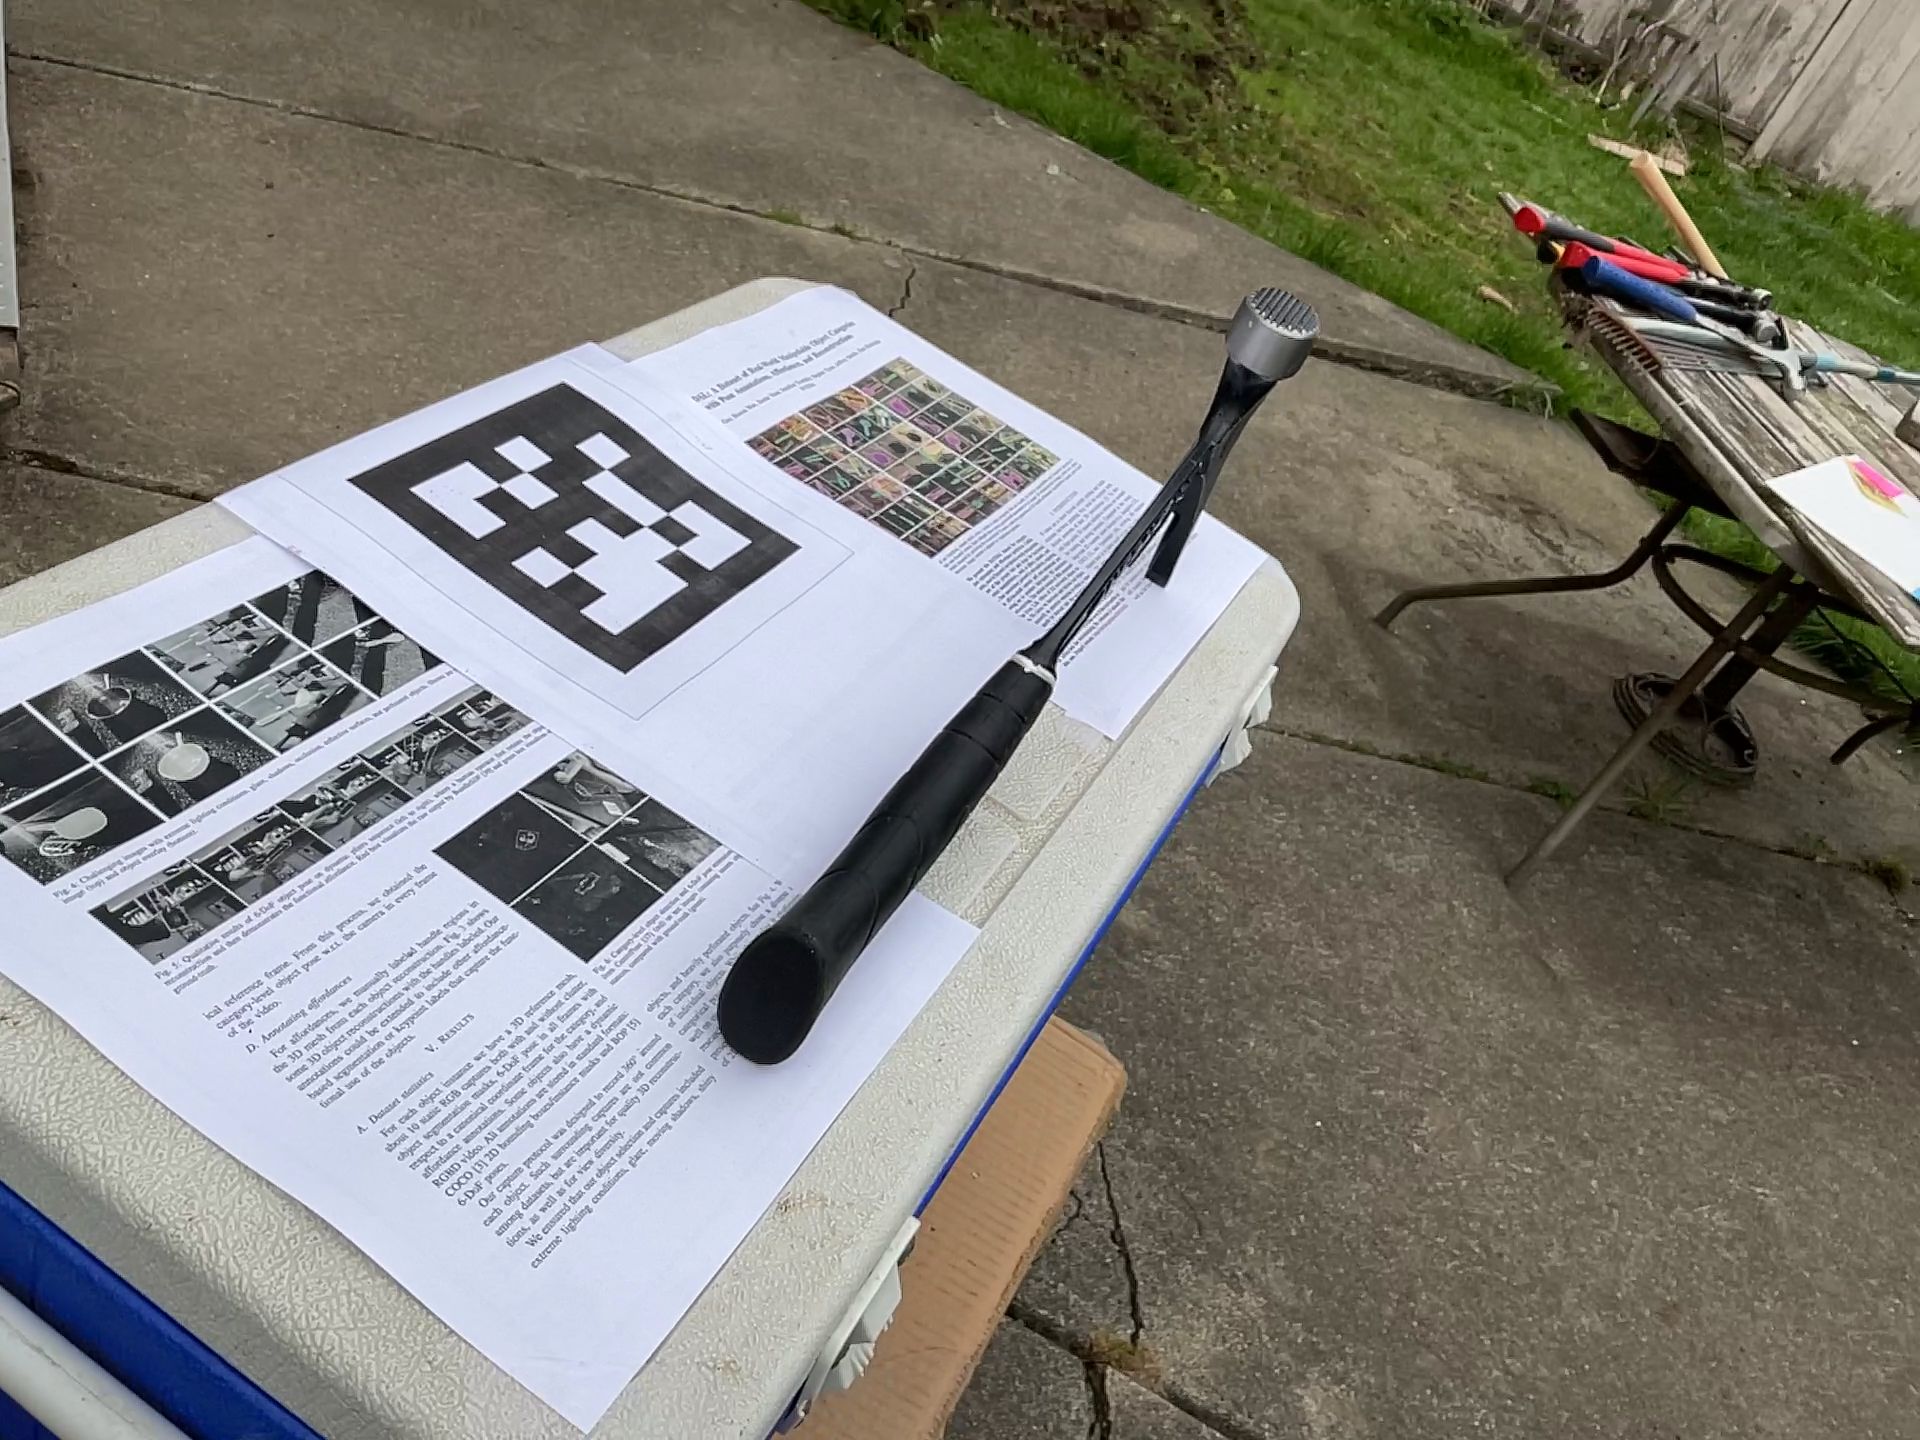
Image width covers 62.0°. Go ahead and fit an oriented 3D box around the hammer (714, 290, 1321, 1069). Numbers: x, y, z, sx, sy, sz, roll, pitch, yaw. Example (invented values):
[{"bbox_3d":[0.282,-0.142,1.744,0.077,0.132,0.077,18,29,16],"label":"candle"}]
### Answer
[{"bbox_3d":[0.031,-0.023,0.602,0.036,0.149,0.409,33,46,7],"label":"hammer"}]
